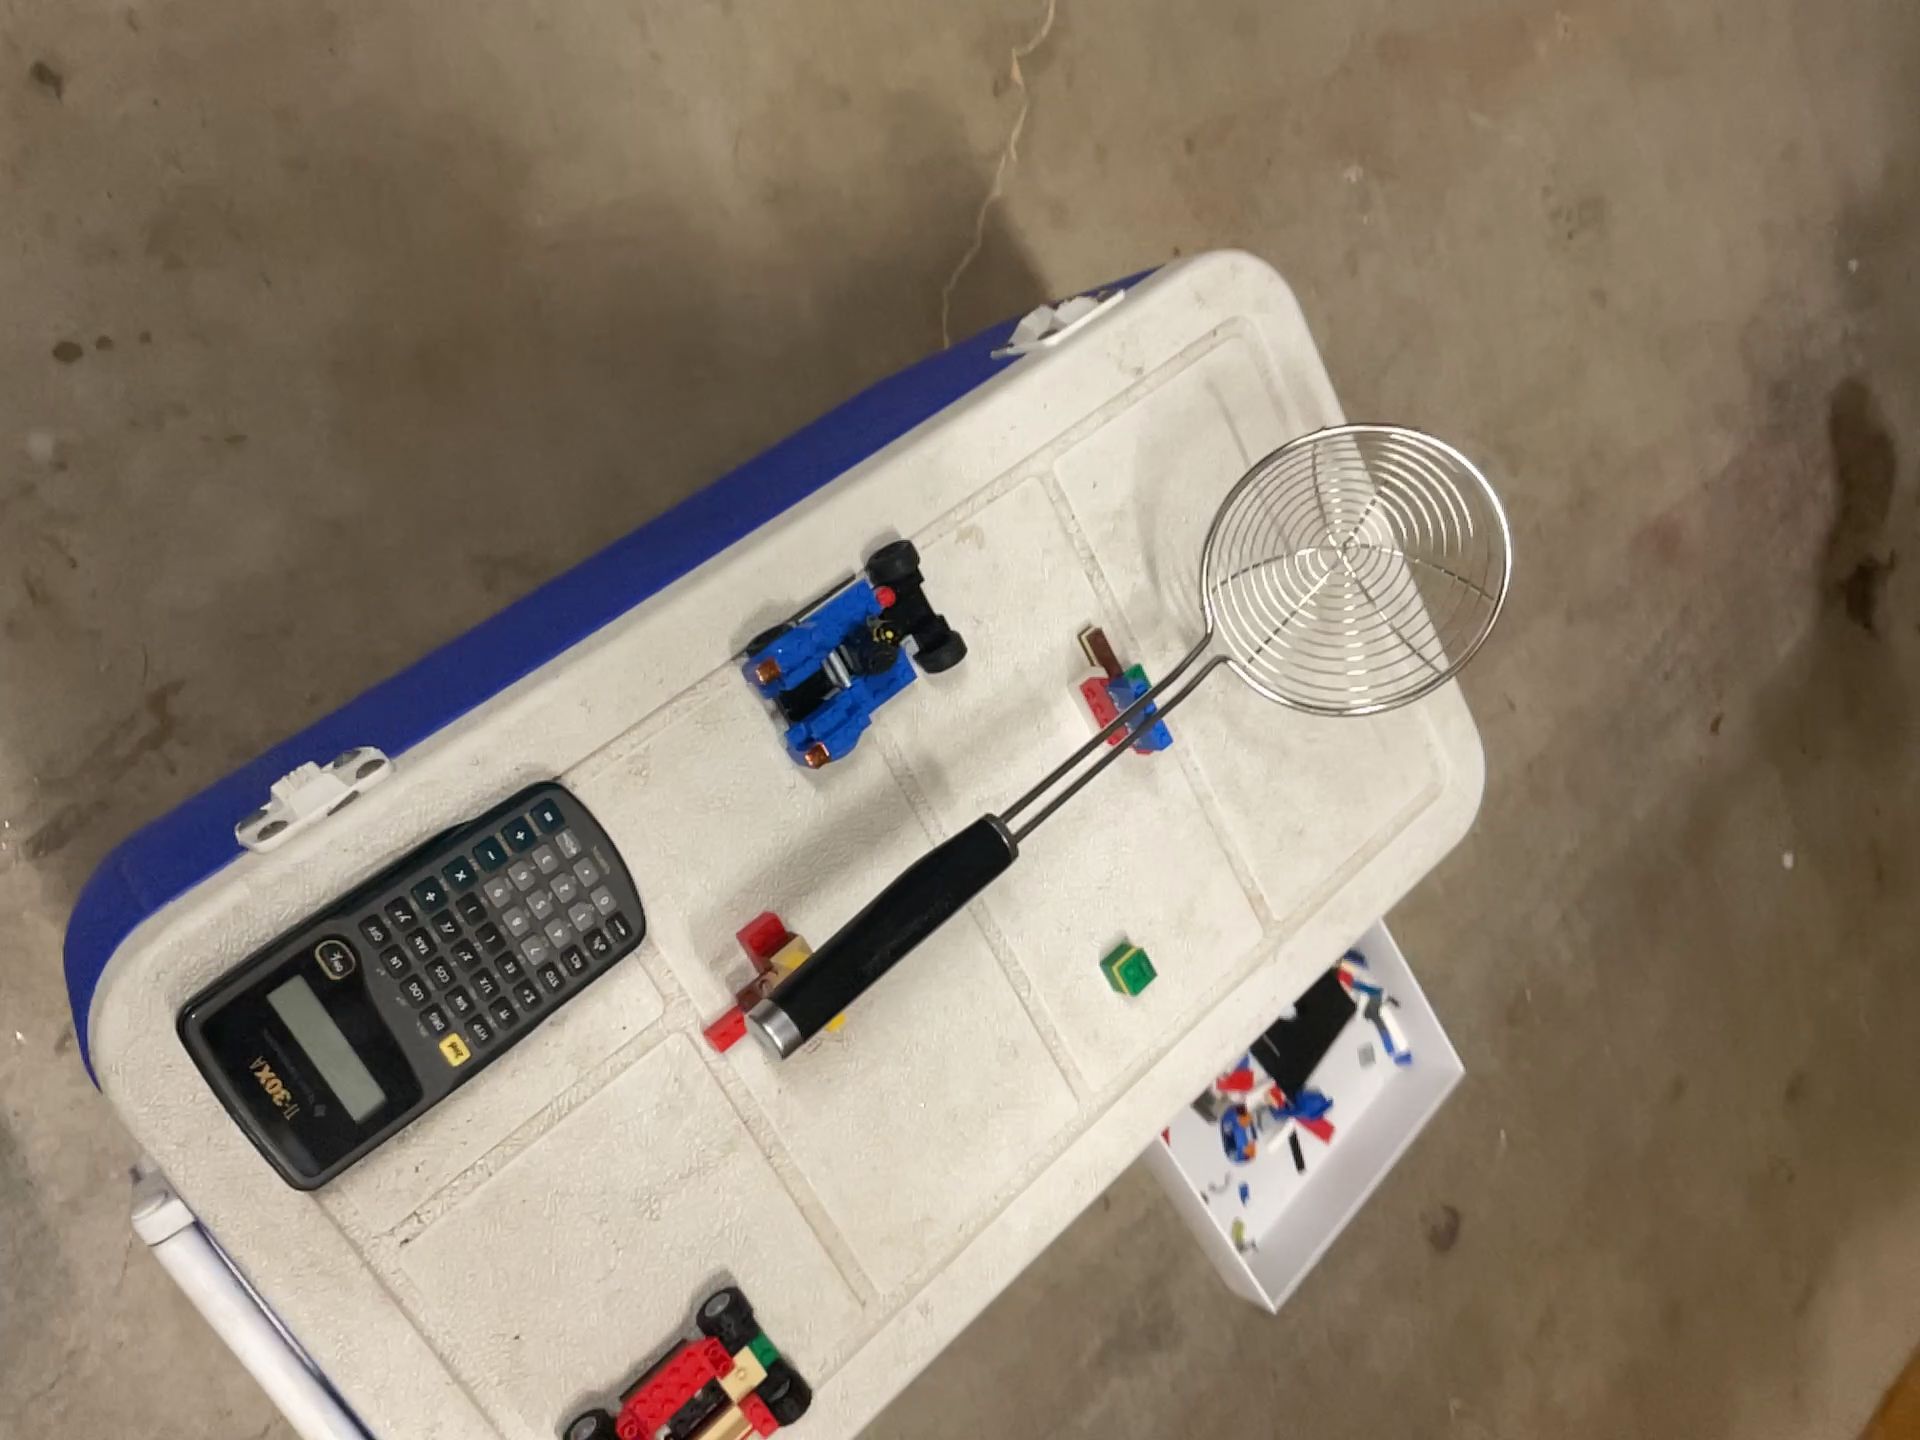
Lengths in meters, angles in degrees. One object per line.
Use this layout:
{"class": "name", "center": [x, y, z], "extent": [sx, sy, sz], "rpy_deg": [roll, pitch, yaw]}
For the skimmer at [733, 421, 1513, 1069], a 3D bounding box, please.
{"class": "skimmer", "center": [0.070, 0.012, 0.610], "extent": [0.363, 0.090, 0.127], "rpy_deg": [-38, 109, -25]}
